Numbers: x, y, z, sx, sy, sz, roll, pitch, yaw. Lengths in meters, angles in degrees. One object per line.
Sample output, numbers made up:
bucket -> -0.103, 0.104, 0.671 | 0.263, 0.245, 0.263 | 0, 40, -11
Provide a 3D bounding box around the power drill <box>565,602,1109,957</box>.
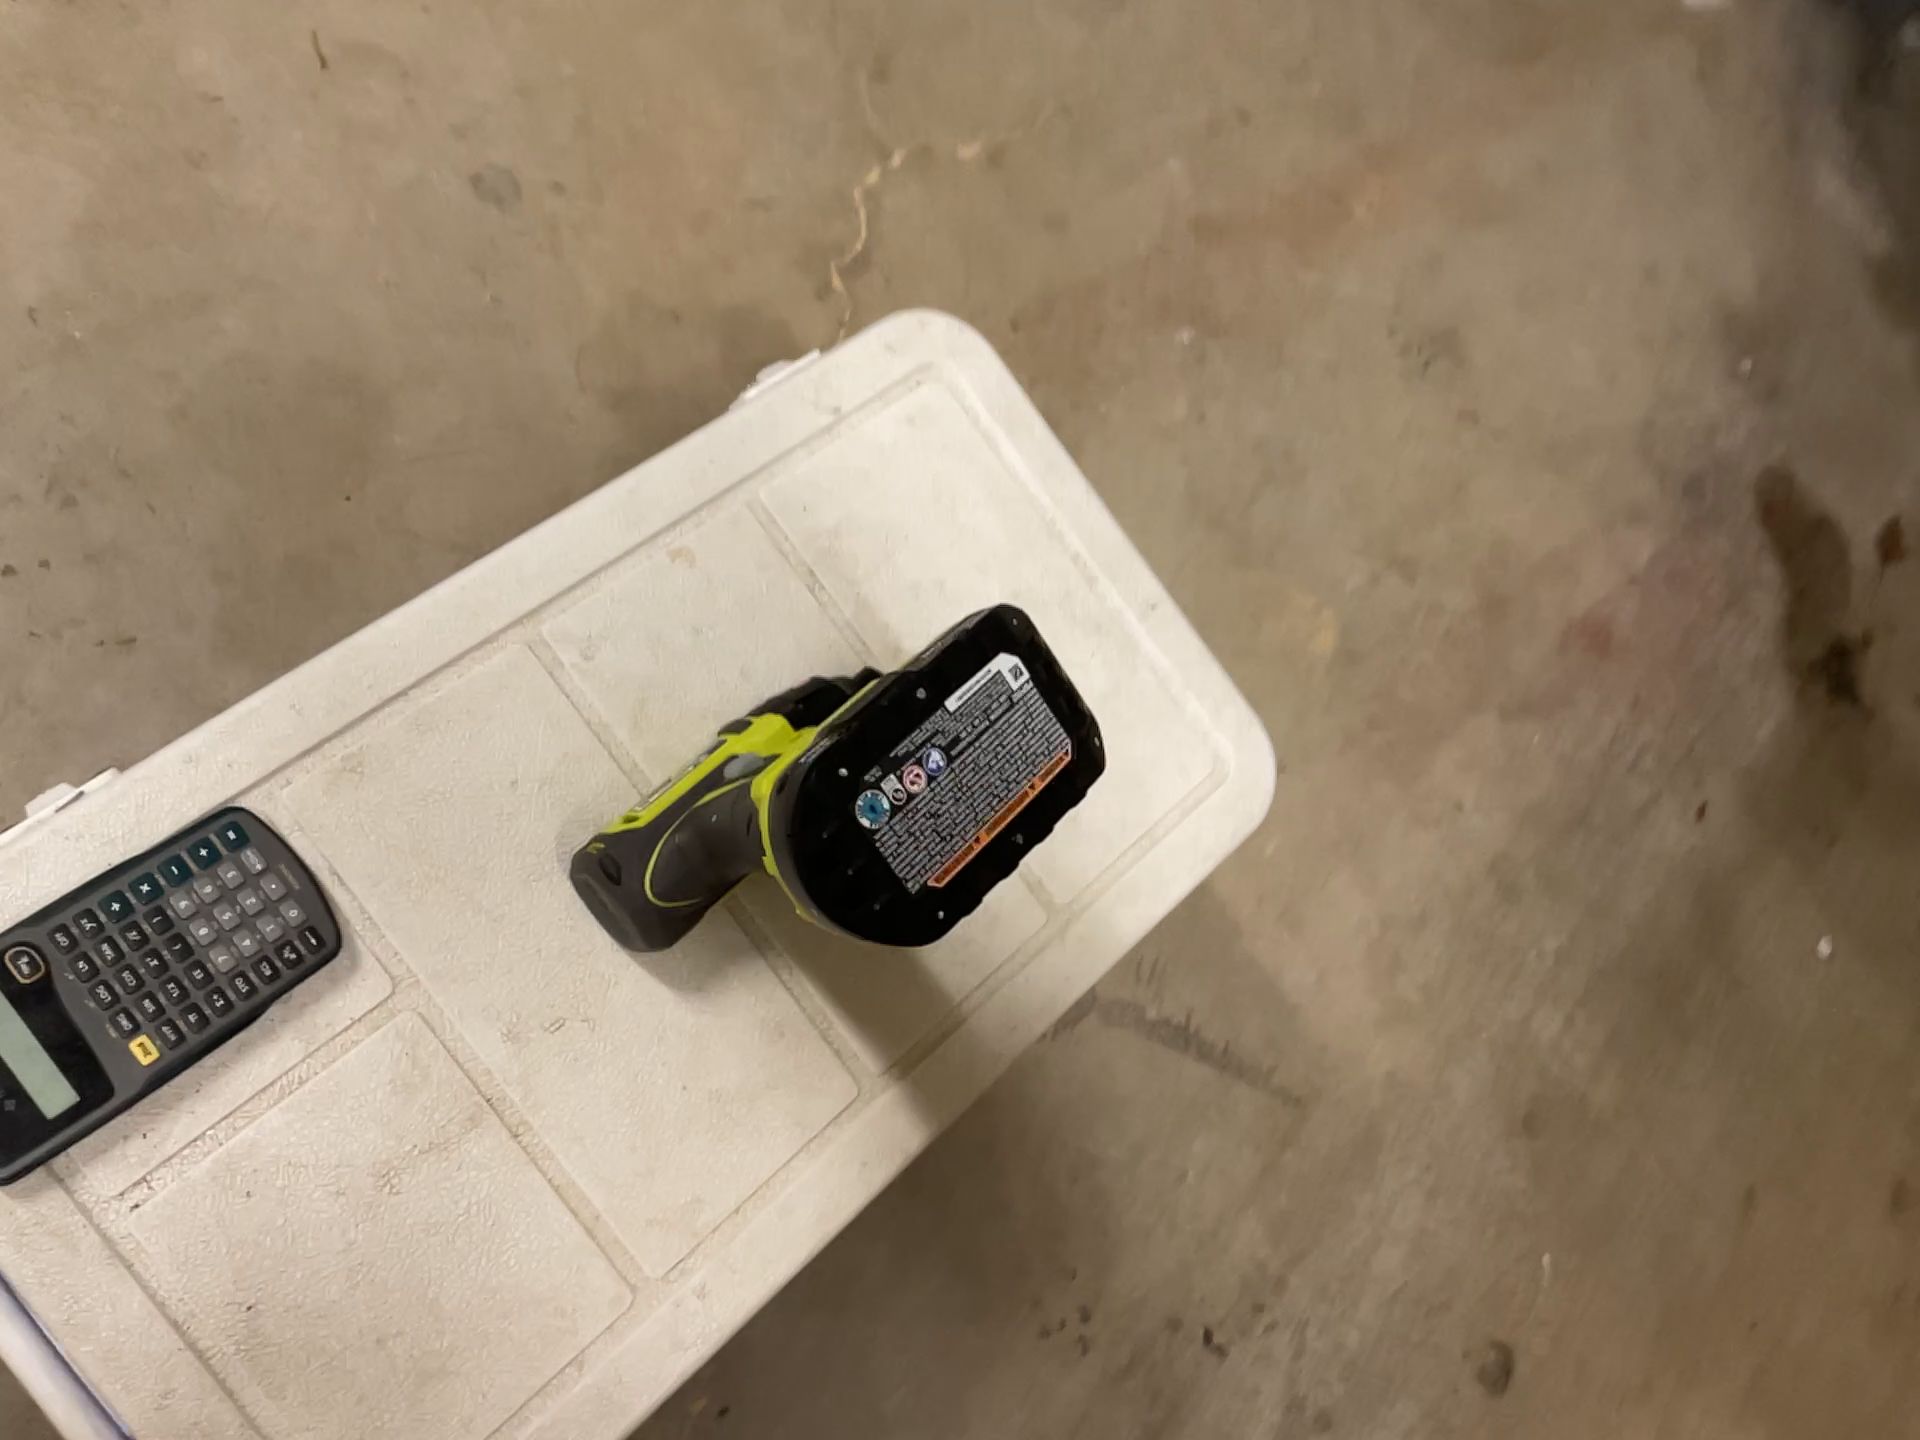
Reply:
power drill -> -0.050, 0.023, 0.640 | 0.171, 0.223, 0.080 | -41, 106, -28
